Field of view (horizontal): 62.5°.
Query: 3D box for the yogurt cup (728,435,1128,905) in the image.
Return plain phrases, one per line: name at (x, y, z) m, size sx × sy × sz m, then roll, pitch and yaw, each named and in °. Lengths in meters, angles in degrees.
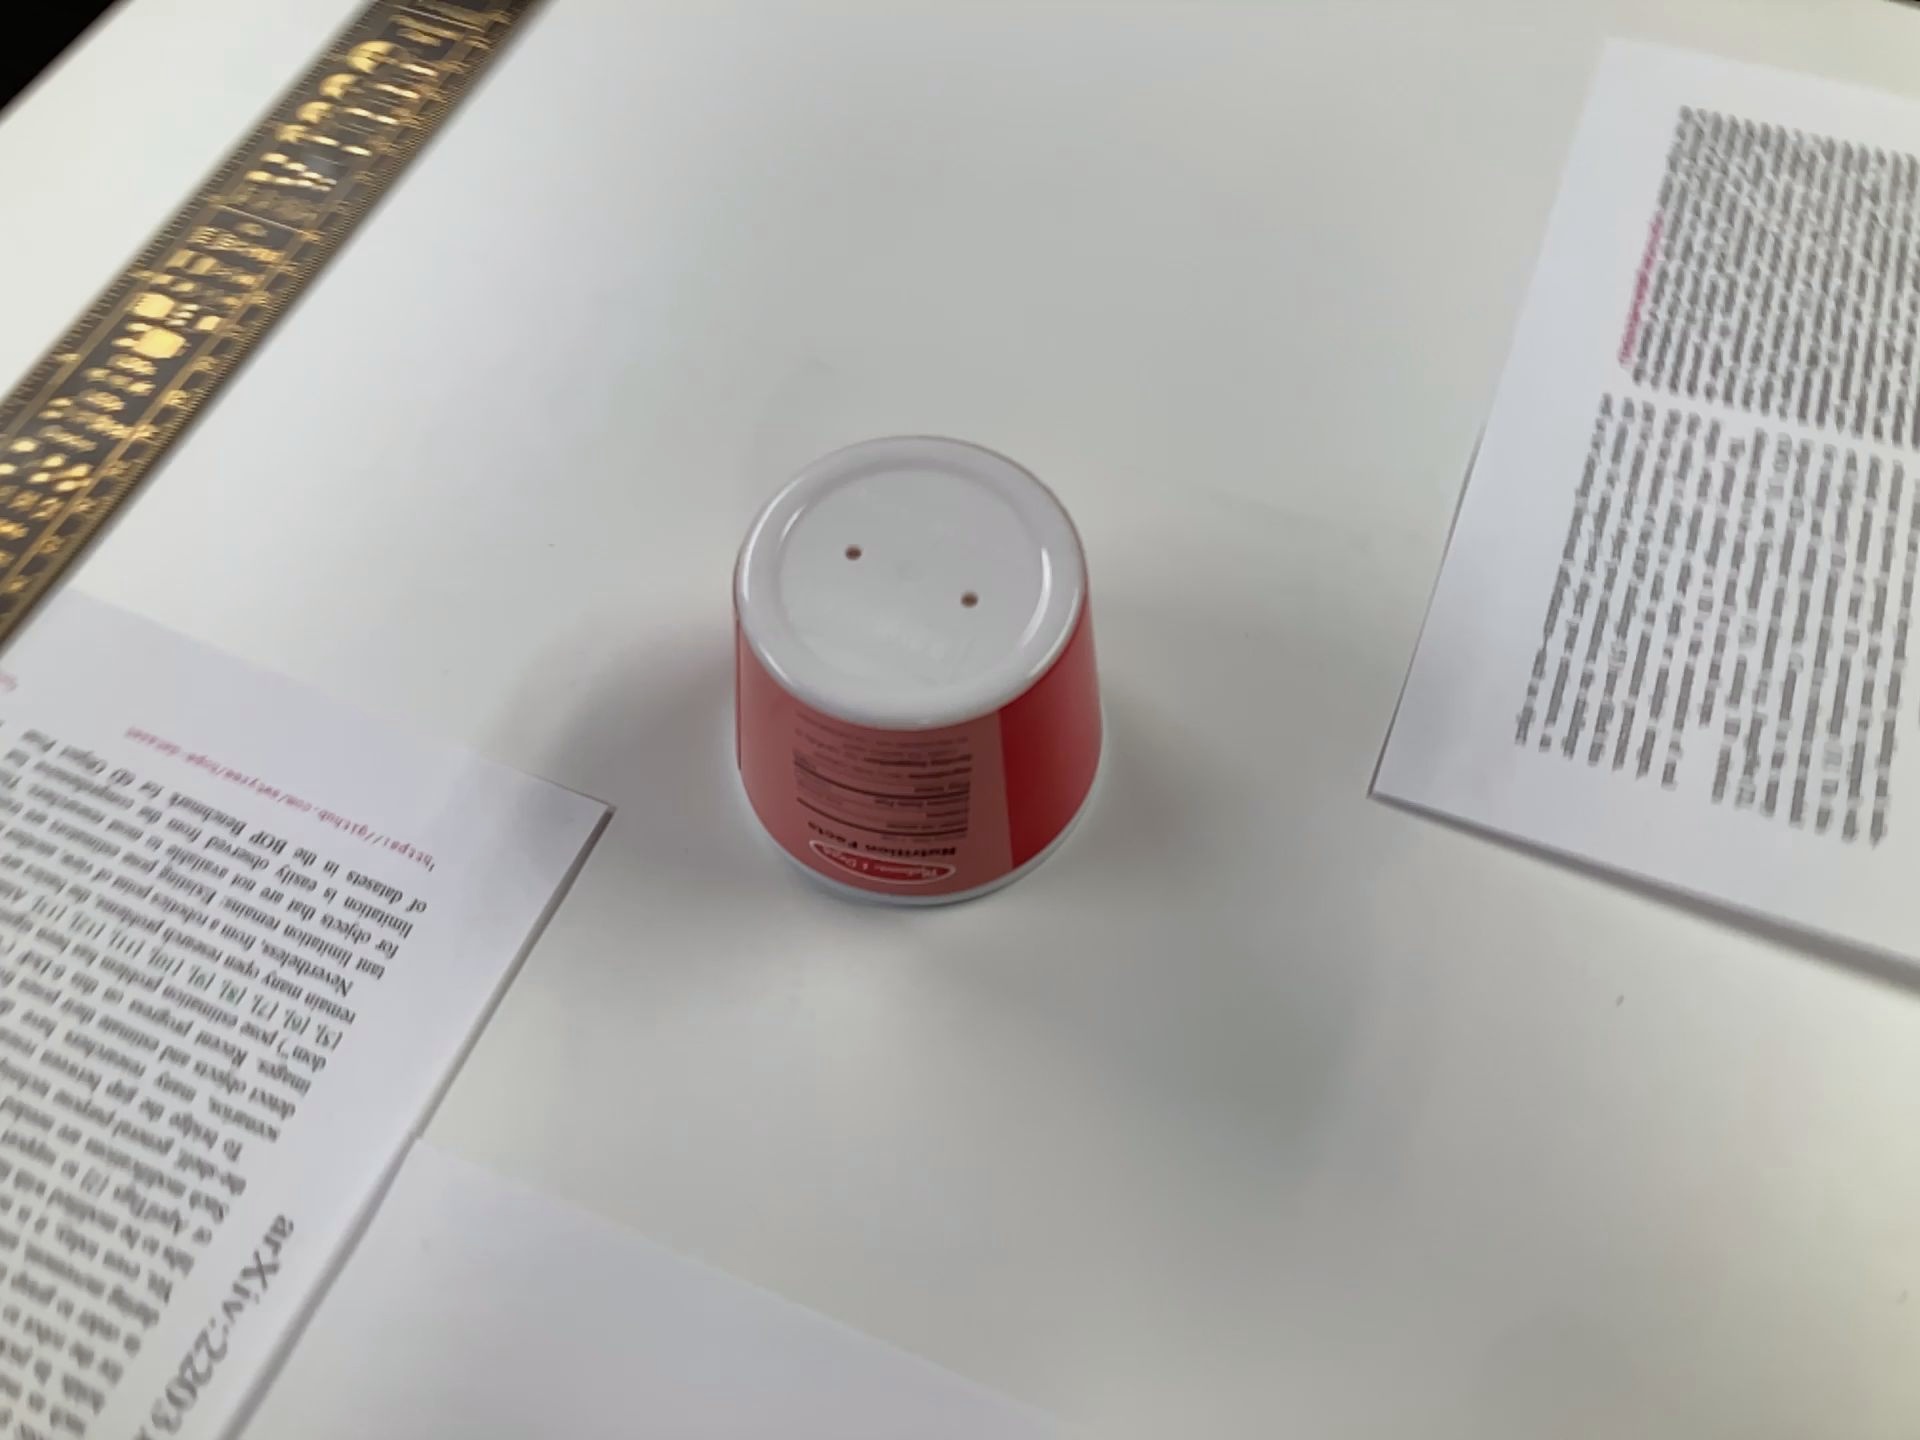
yogurt cup at (-0.008, -0.010, 0.265) m, size 0.072 × 0.054 × 0.072 m, roll 0°, pitch 61°, yaw 0°
